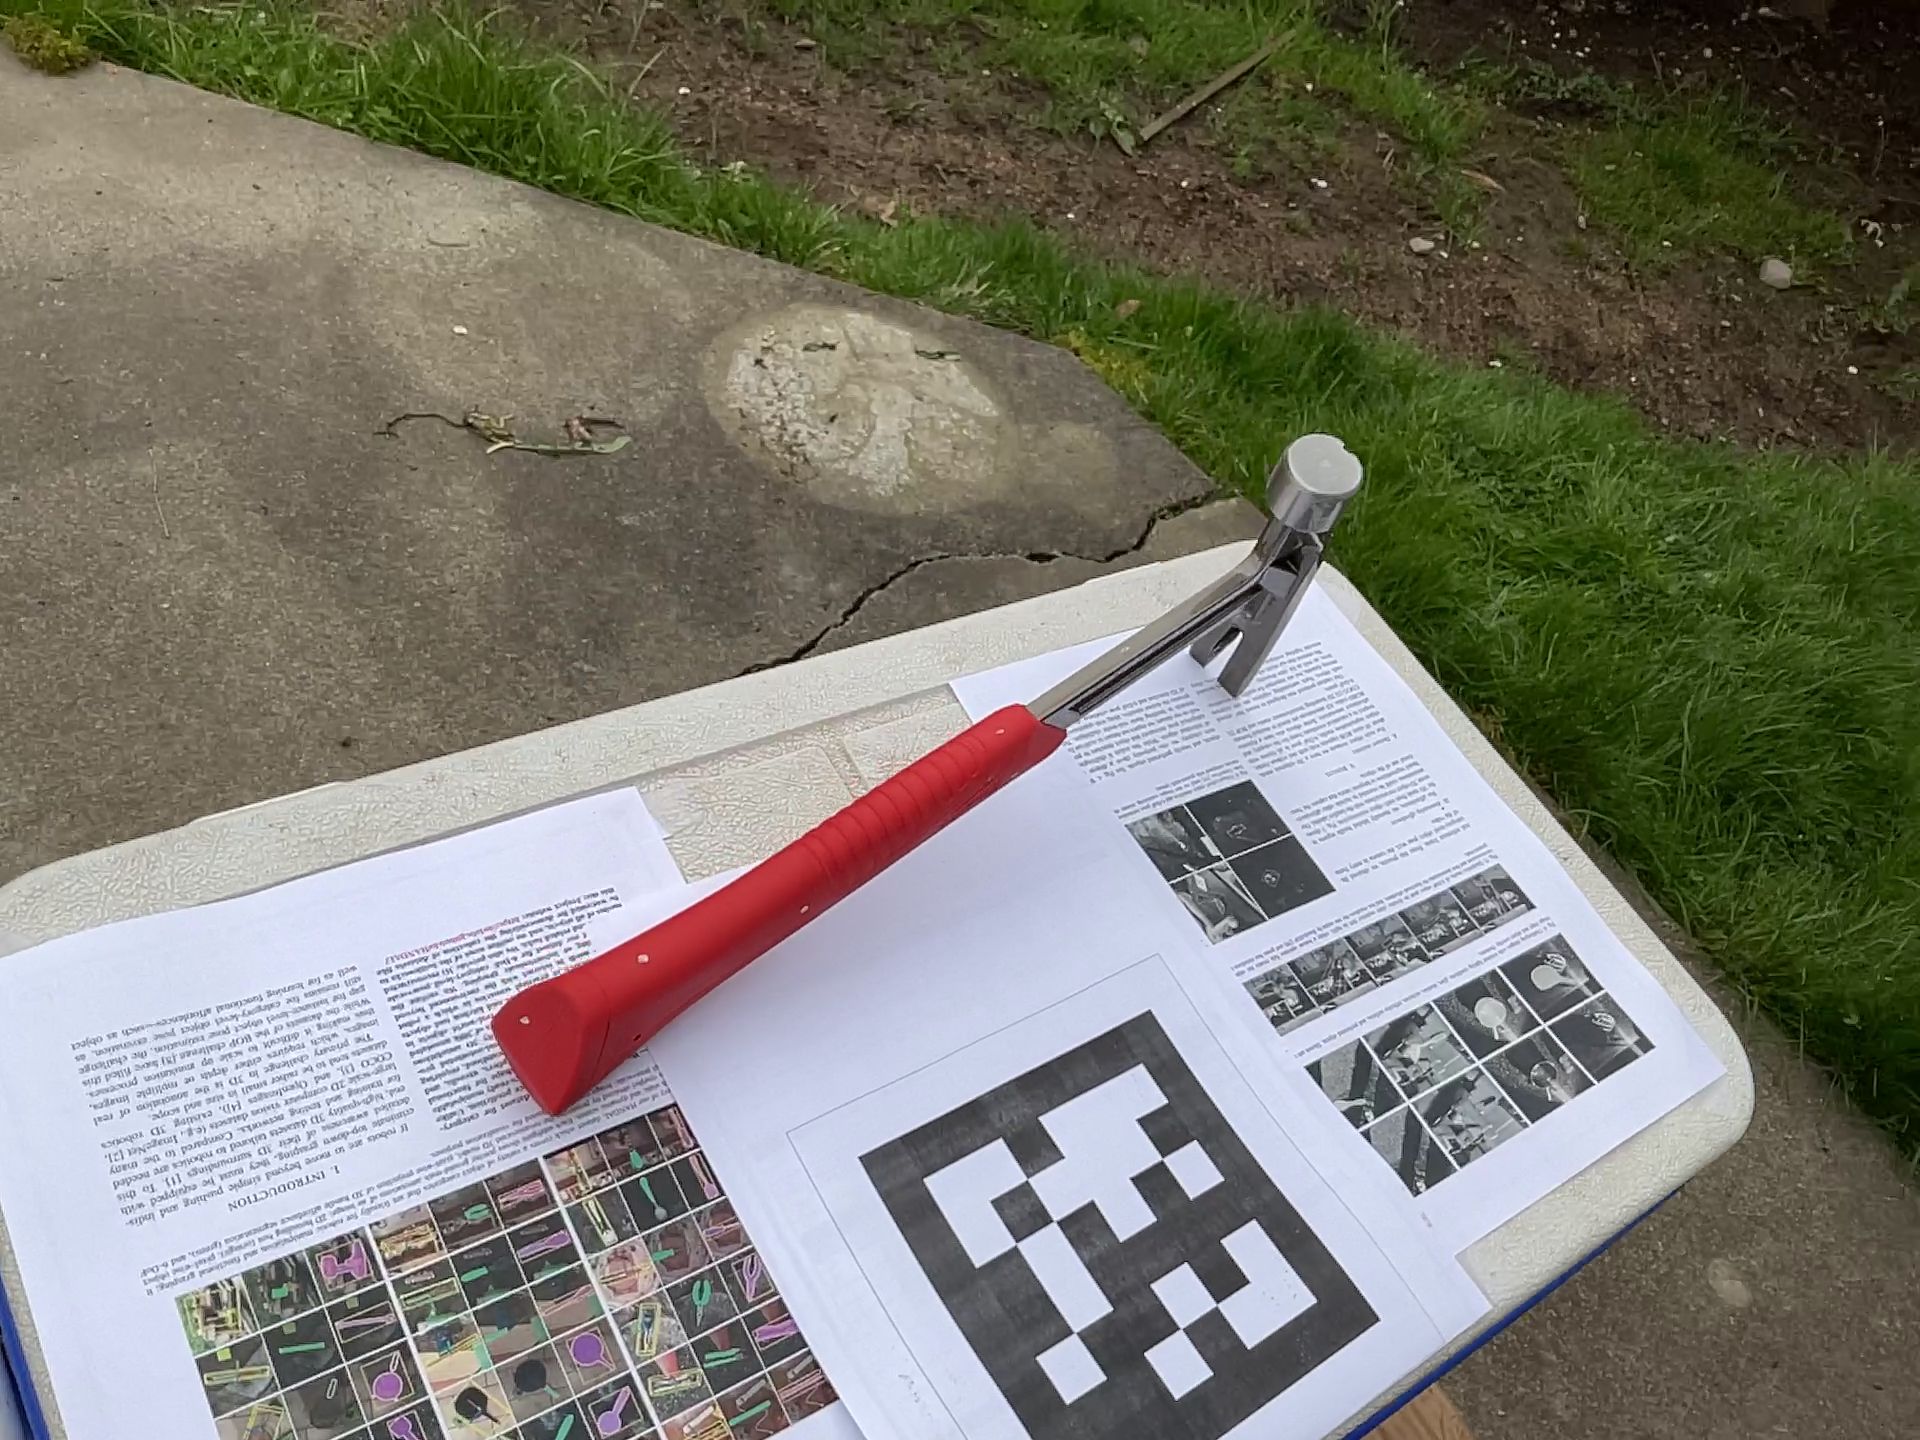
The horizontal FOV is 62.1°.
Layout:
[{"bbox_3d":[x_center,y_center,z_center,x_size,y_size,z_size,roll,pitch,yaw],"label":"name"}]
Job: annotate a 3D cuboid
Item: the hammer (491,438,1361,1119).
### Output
[{"bbox_3d":[0.000,0.024,0.571,0.359,0.149,0.037,-33,70,-27],"label":"hammer"}]
